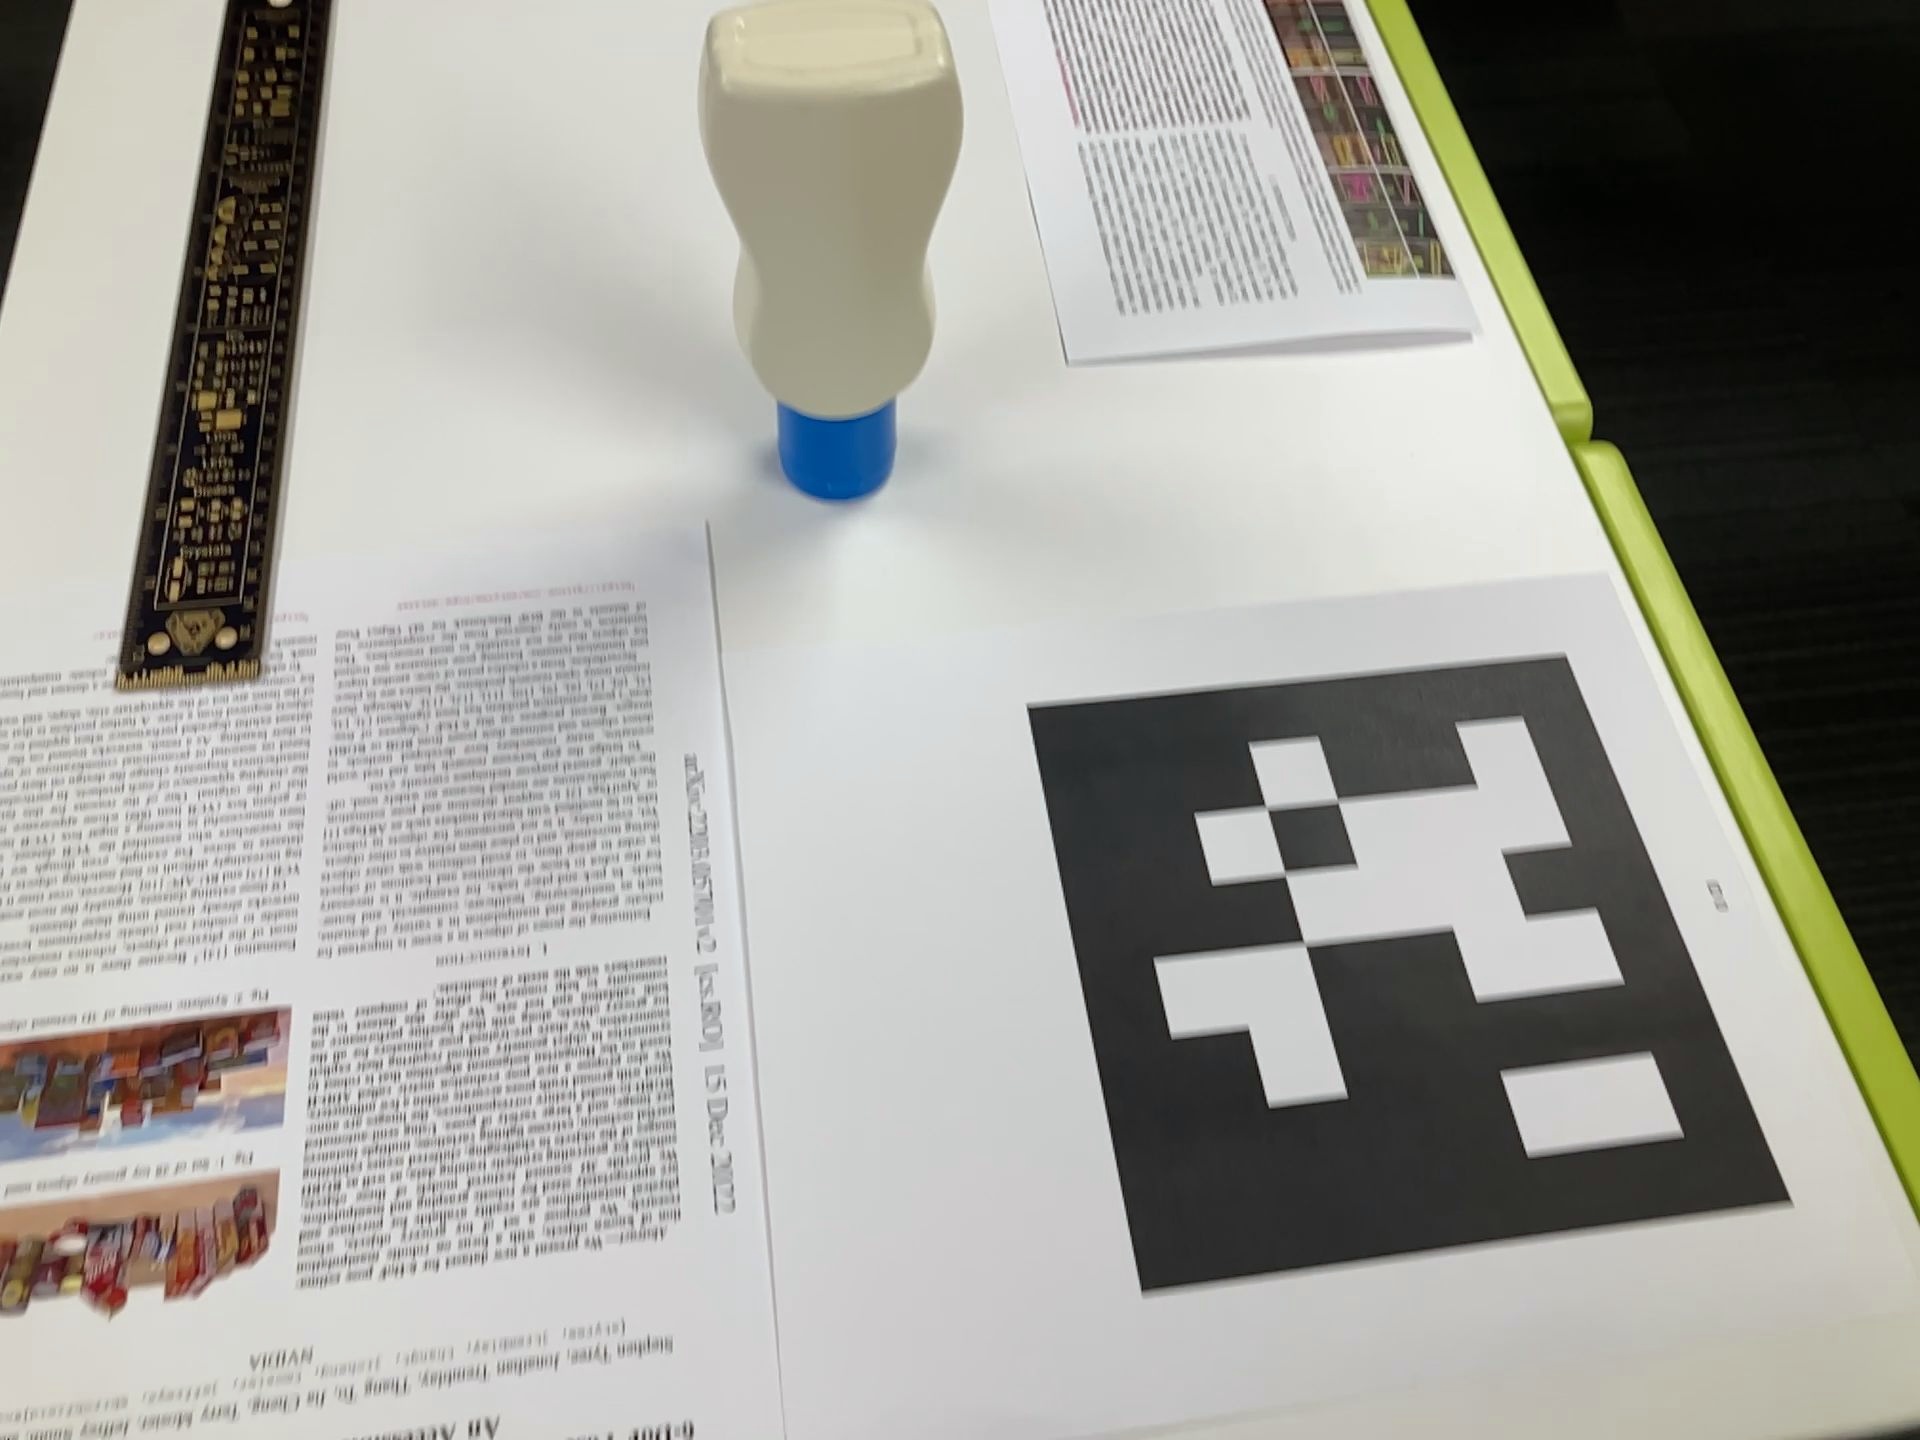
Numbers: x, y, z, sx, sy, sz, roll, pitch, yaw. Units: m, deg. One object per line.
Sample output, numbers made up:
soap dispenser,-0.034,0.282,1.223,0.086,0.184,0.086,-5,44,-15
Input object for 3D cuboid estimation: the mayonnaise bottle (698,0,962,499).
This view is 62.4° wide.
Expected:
mayonnaise bottle,-0.035,-0.122,0.438,0.065,0.148,0.041,-6,58,-8
